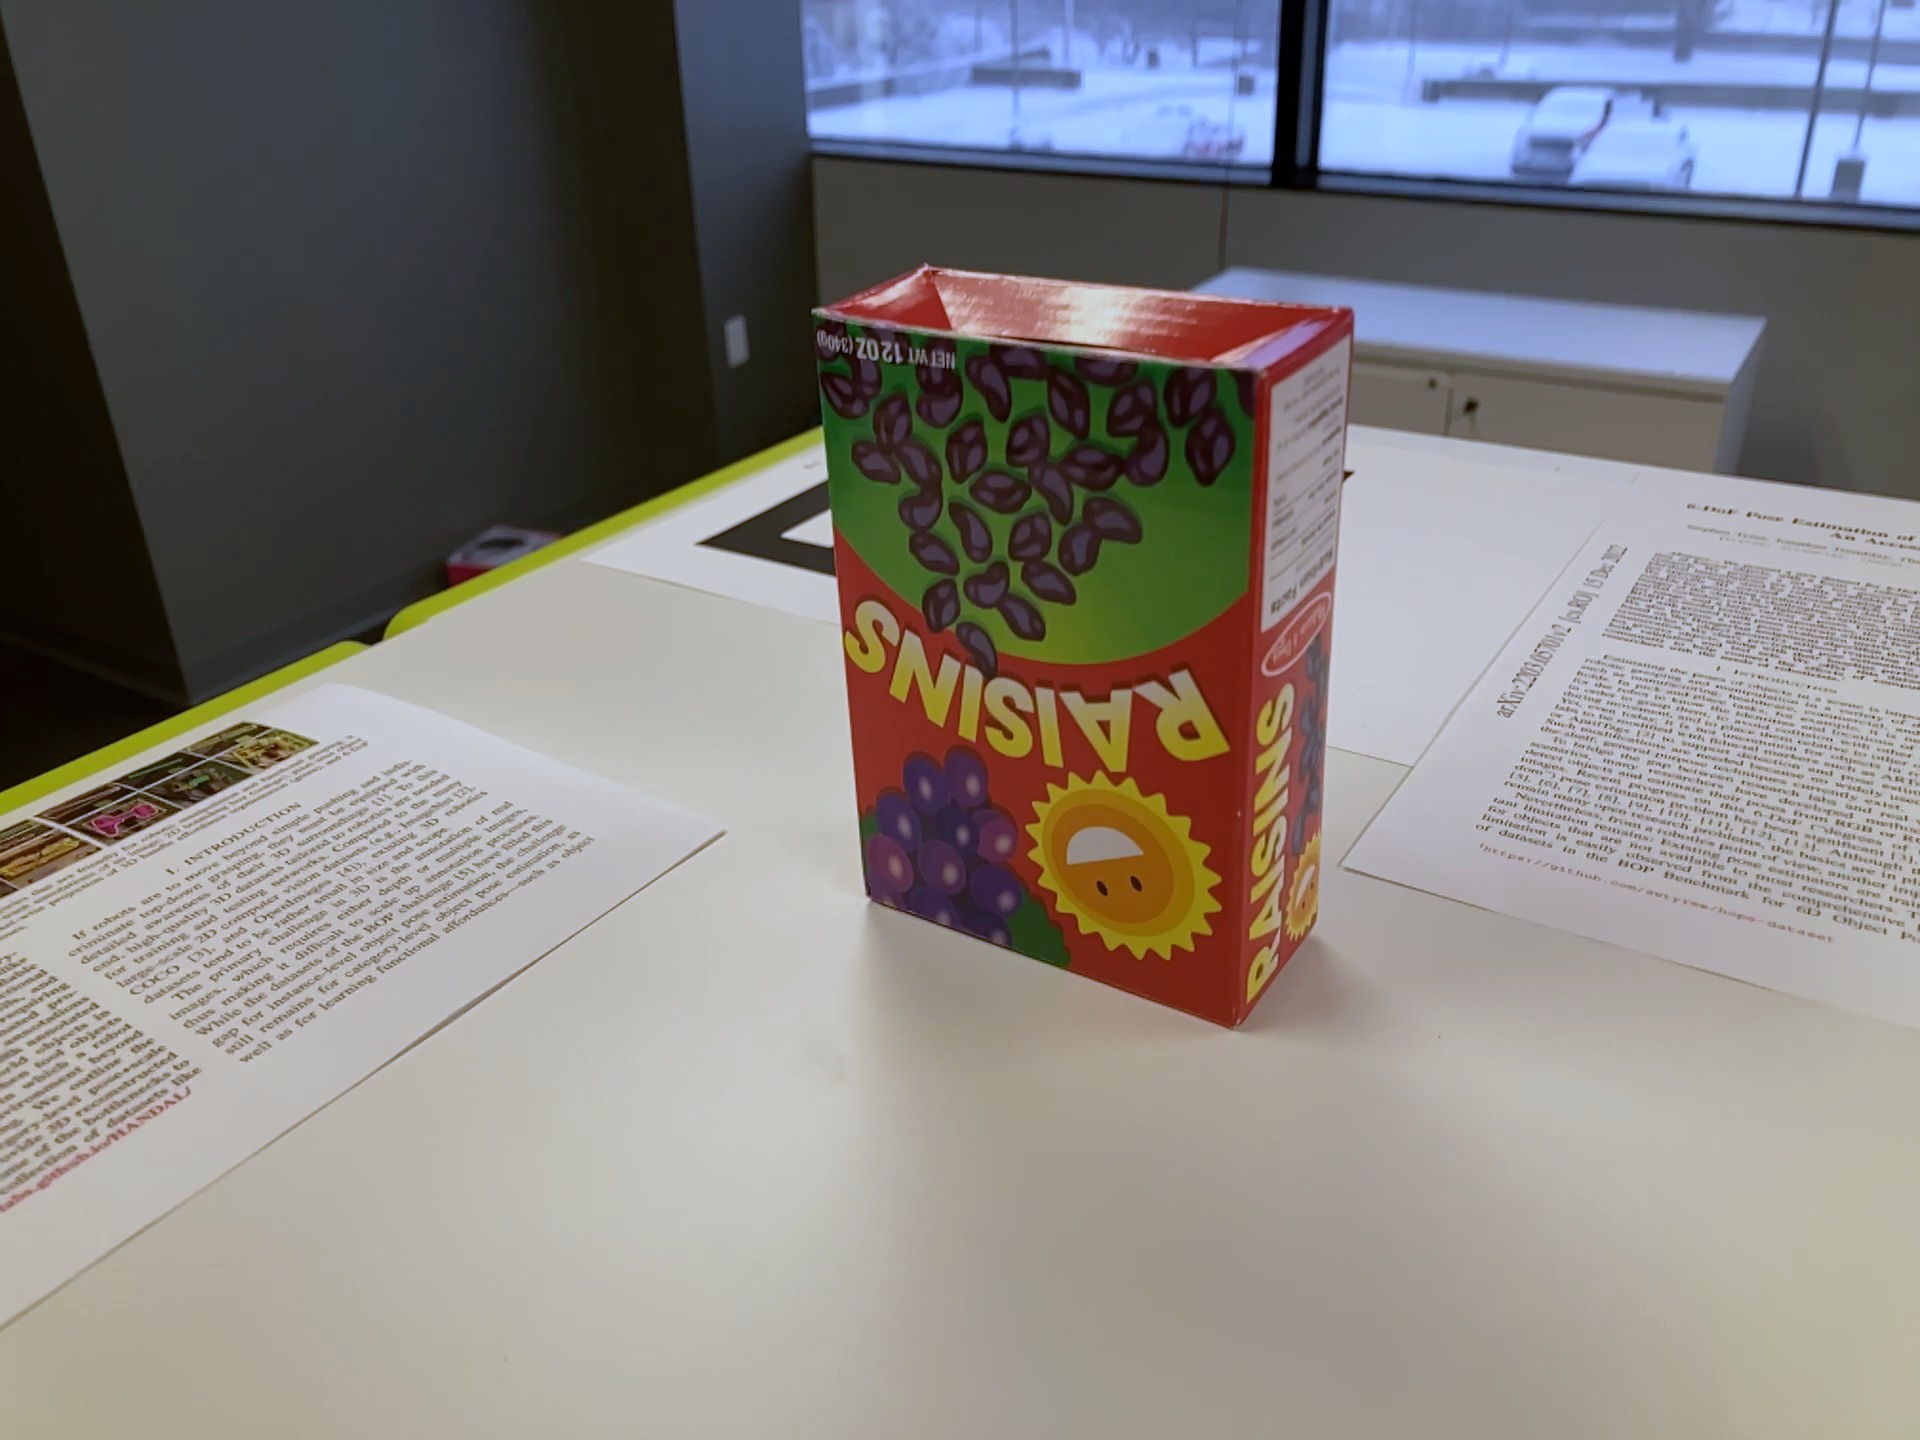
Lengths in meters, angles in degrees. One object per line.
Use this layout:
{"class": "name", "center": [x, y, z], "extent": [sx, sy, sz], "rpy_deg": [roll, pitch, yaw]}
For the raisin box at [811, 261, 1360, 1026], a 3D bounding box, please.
{"class": "raisin box", "center": [0.022, -0.015, 0.289], "extent": [0.086, 0.123, 0.040], "rpy_deg": [14, 33, 29]}
